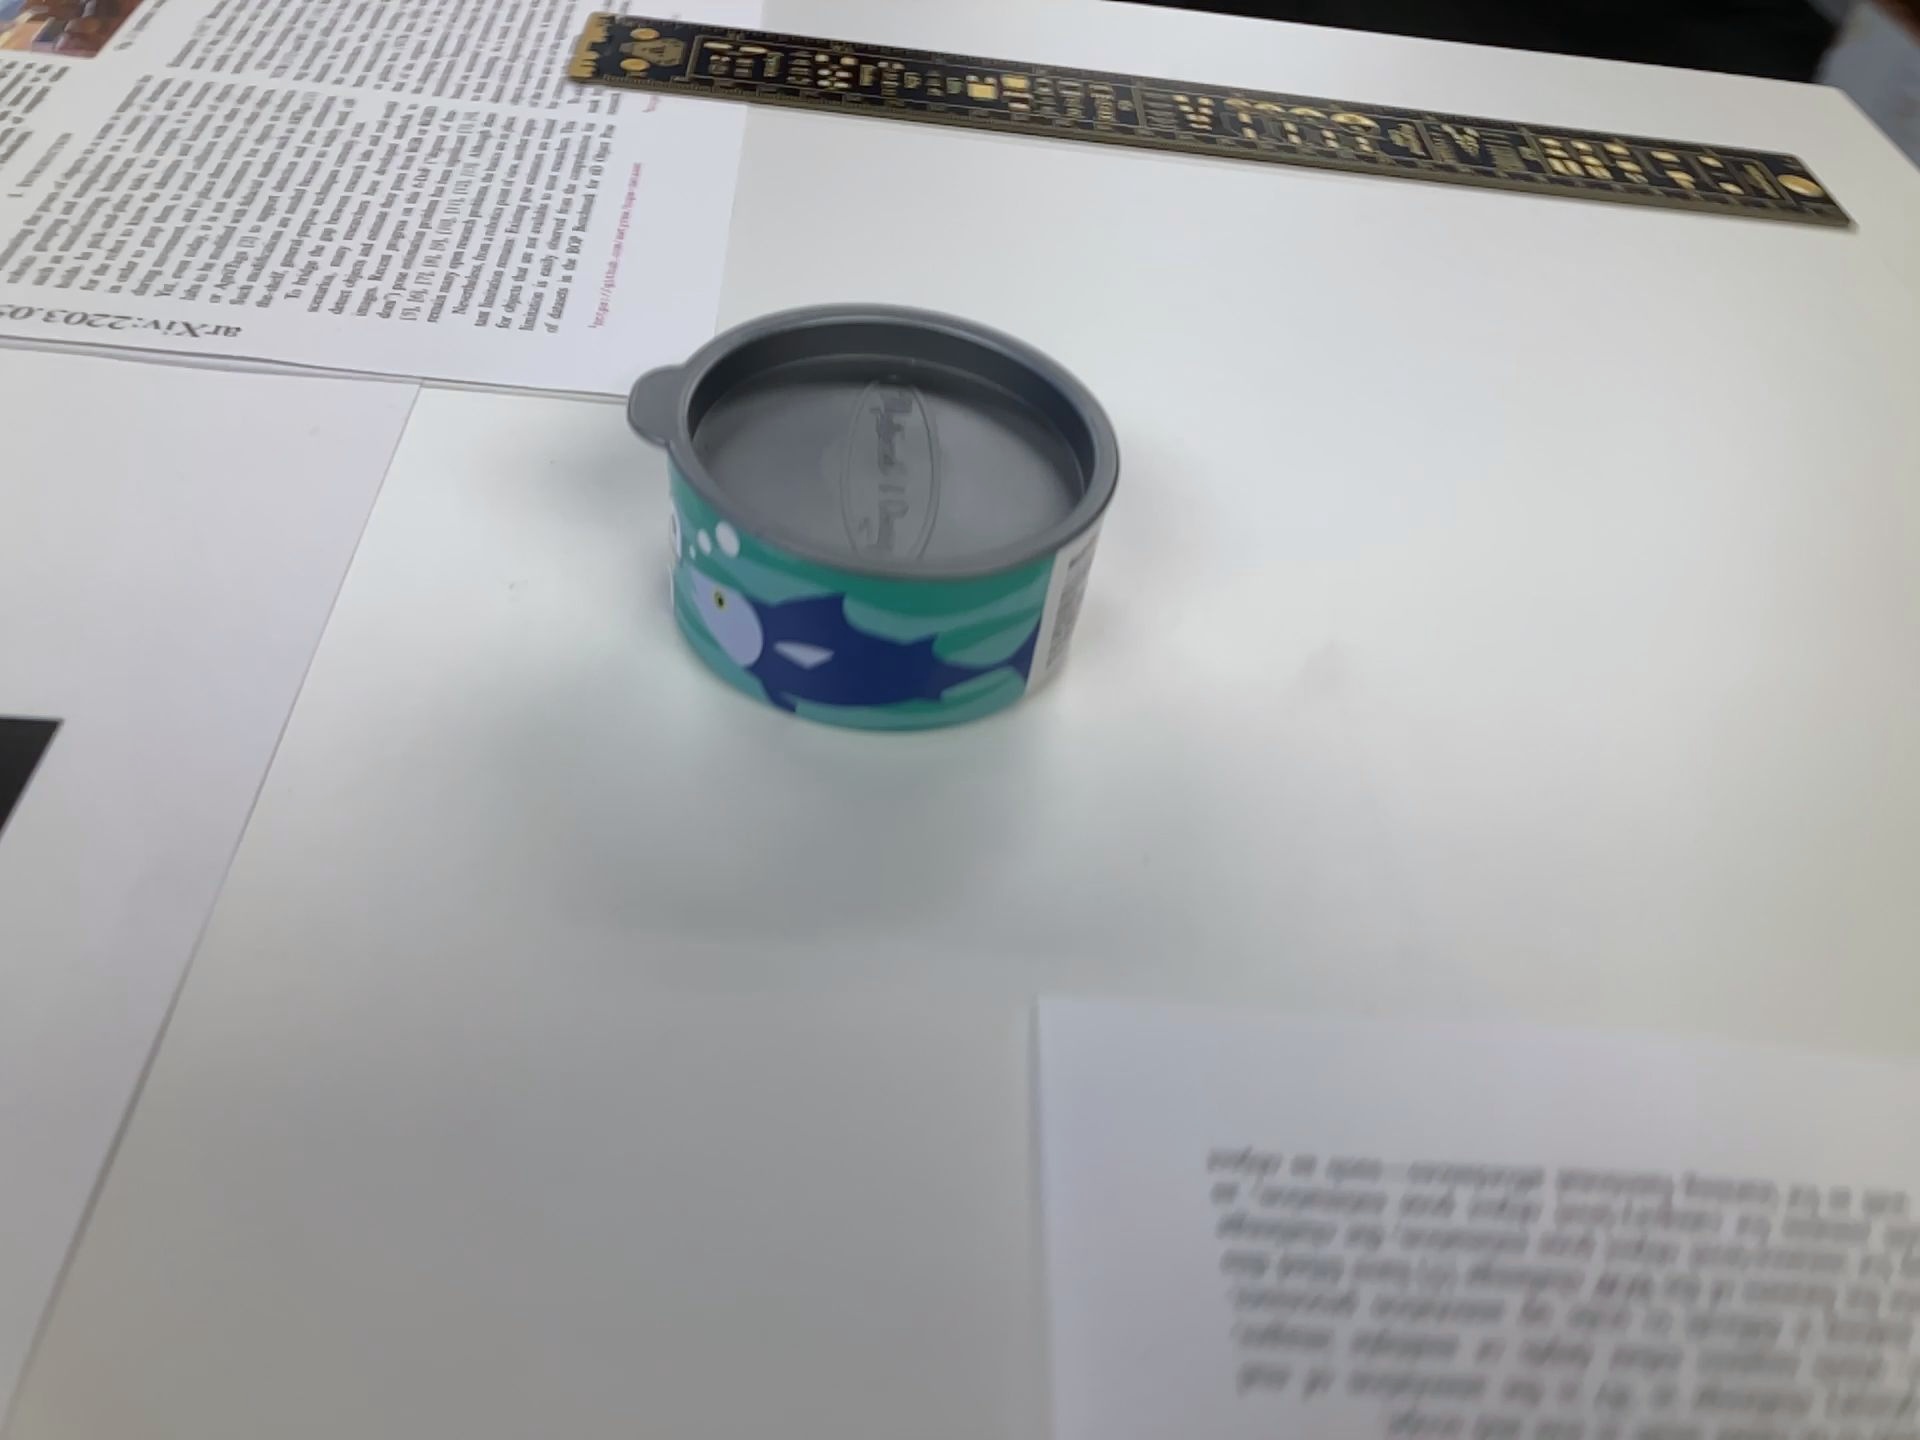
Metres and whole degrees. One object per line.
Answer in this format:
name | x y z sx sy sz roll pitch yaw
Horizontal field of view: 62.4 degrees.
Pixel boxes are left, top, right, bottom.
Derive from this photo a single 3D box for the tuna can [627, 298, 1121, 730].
tuna can | -0.014 -0.032 0.238 0.071 0.033 0.071 5 45 -5
